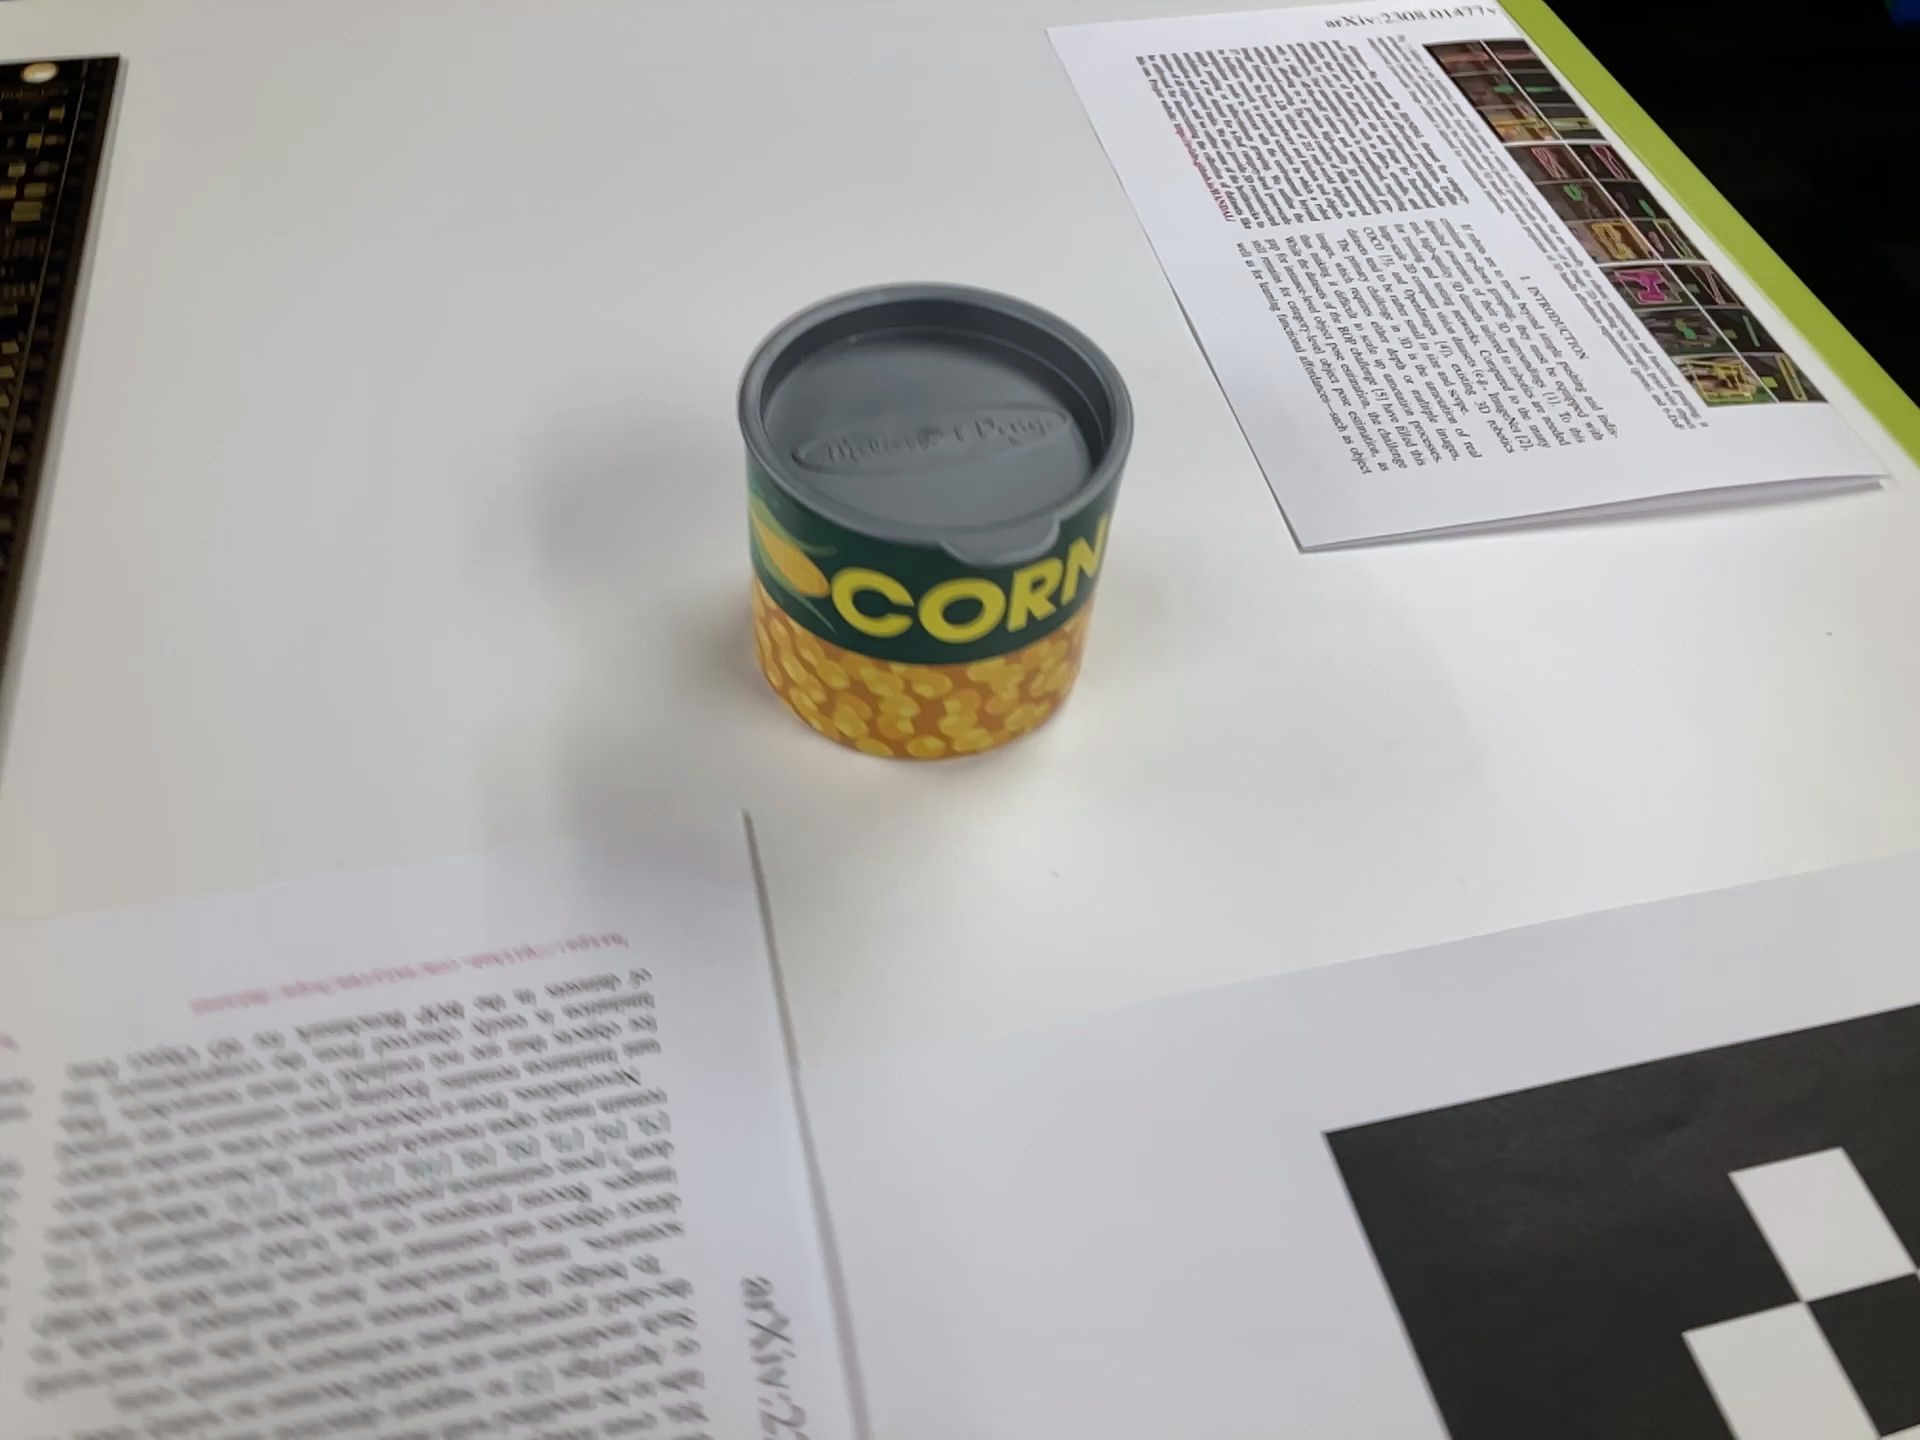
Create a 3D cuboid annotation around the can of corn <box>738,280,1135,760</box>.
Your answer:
[{"bbox_3d":[-0.005,-0.033,0.284,0.071,0.058,0.071,3,50,-3],"label":"can of corn"}]
